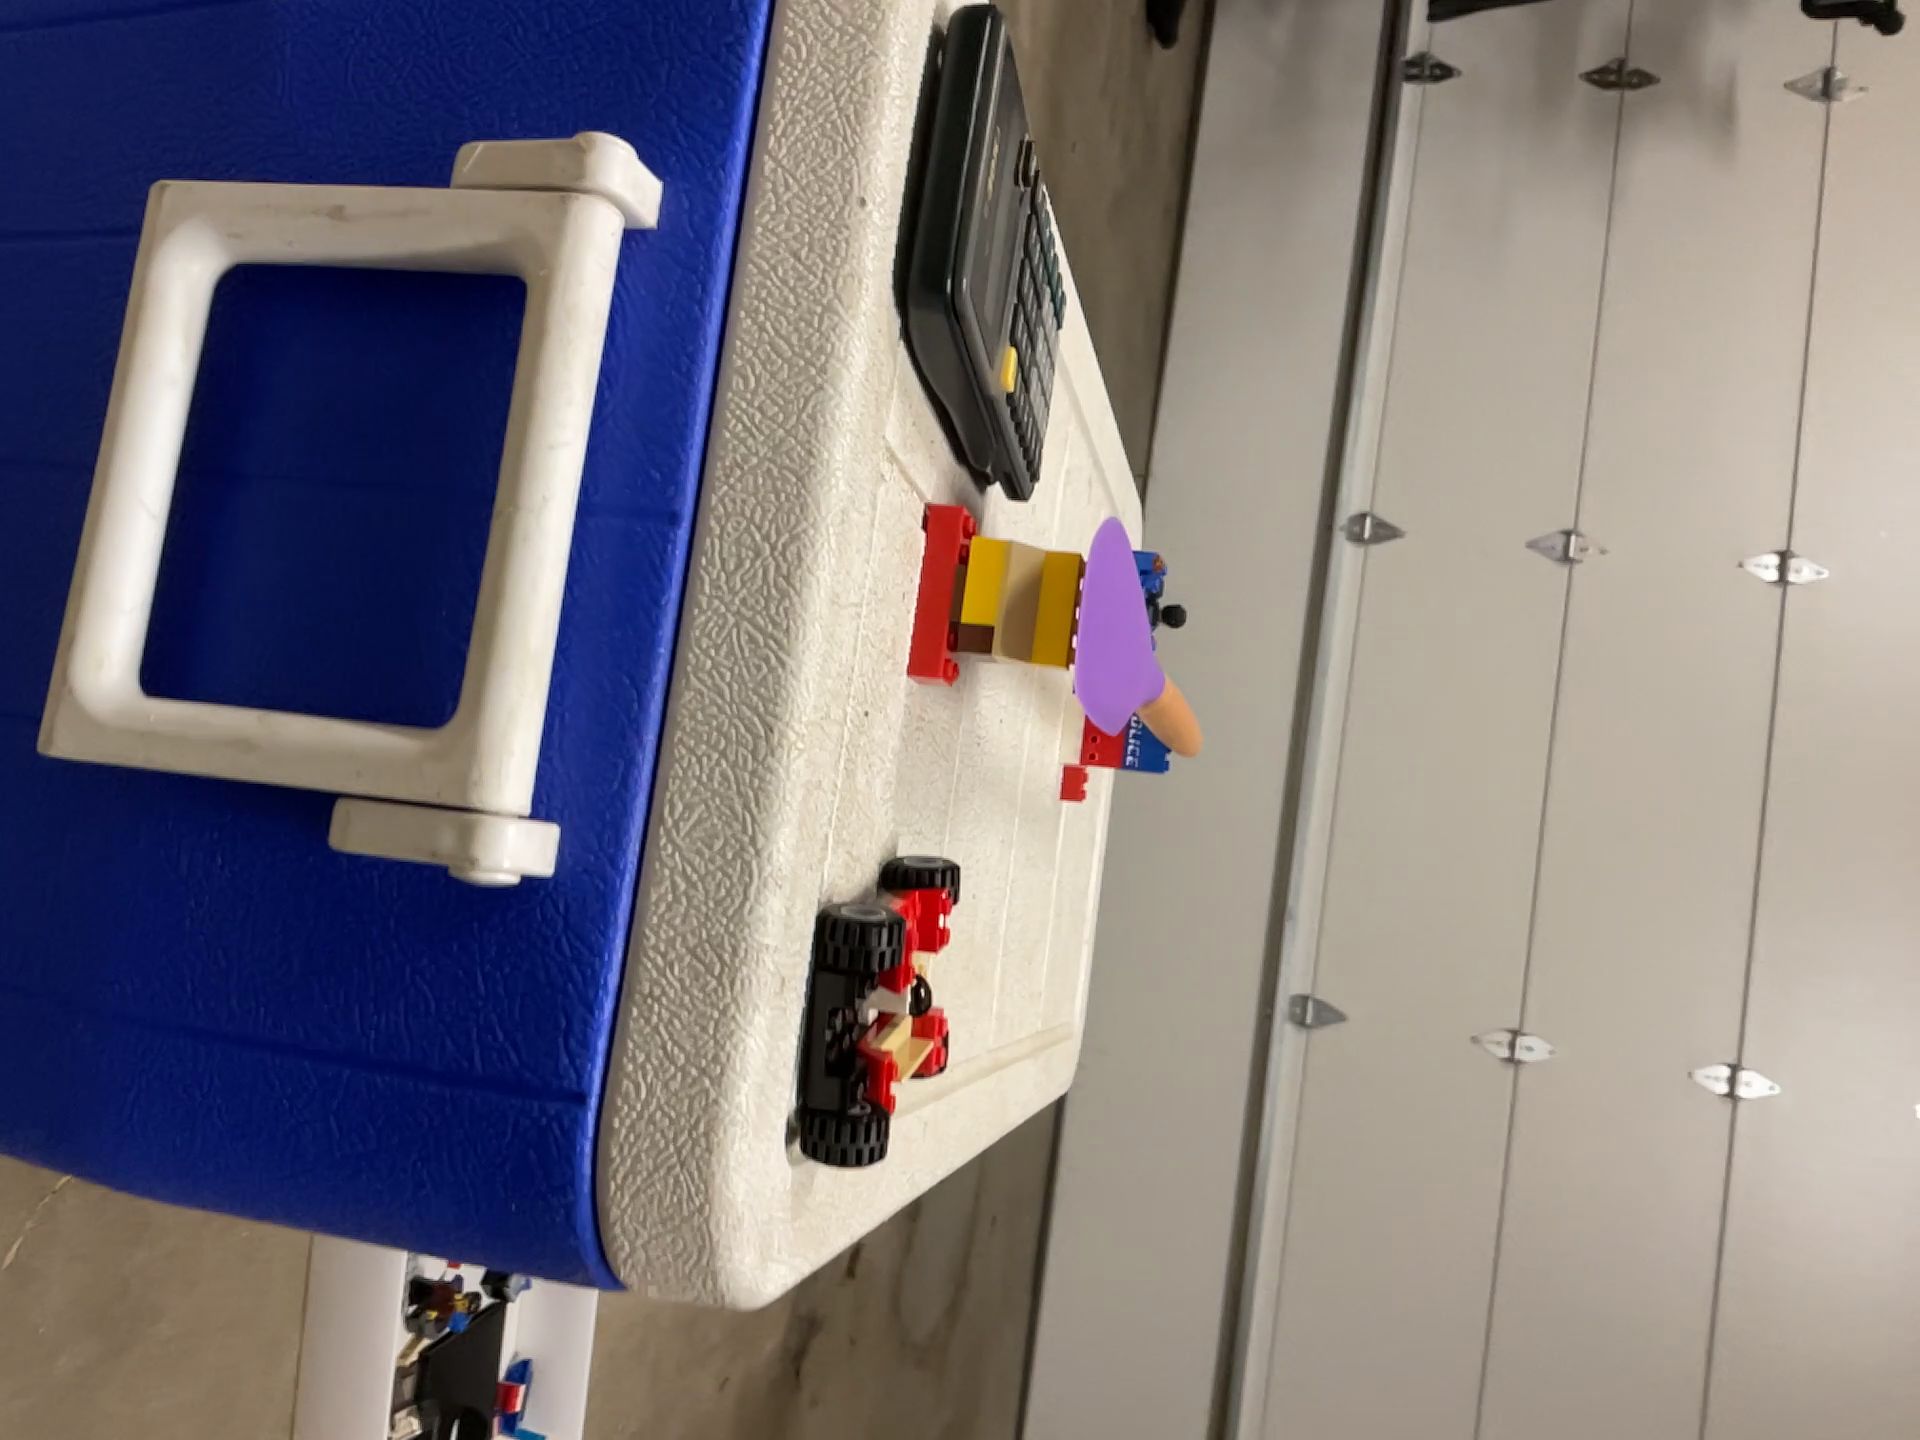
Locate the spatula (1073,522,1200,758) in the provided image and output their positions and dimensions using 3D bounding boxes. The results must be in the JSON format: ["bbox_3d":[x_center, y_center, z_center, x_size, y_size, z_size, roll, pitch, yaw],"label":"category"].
[{"bbox_3d":[0.068,-0.011,0.569,0.316,0.018,0.060,32,66,-75],"label":"spatula"}]
